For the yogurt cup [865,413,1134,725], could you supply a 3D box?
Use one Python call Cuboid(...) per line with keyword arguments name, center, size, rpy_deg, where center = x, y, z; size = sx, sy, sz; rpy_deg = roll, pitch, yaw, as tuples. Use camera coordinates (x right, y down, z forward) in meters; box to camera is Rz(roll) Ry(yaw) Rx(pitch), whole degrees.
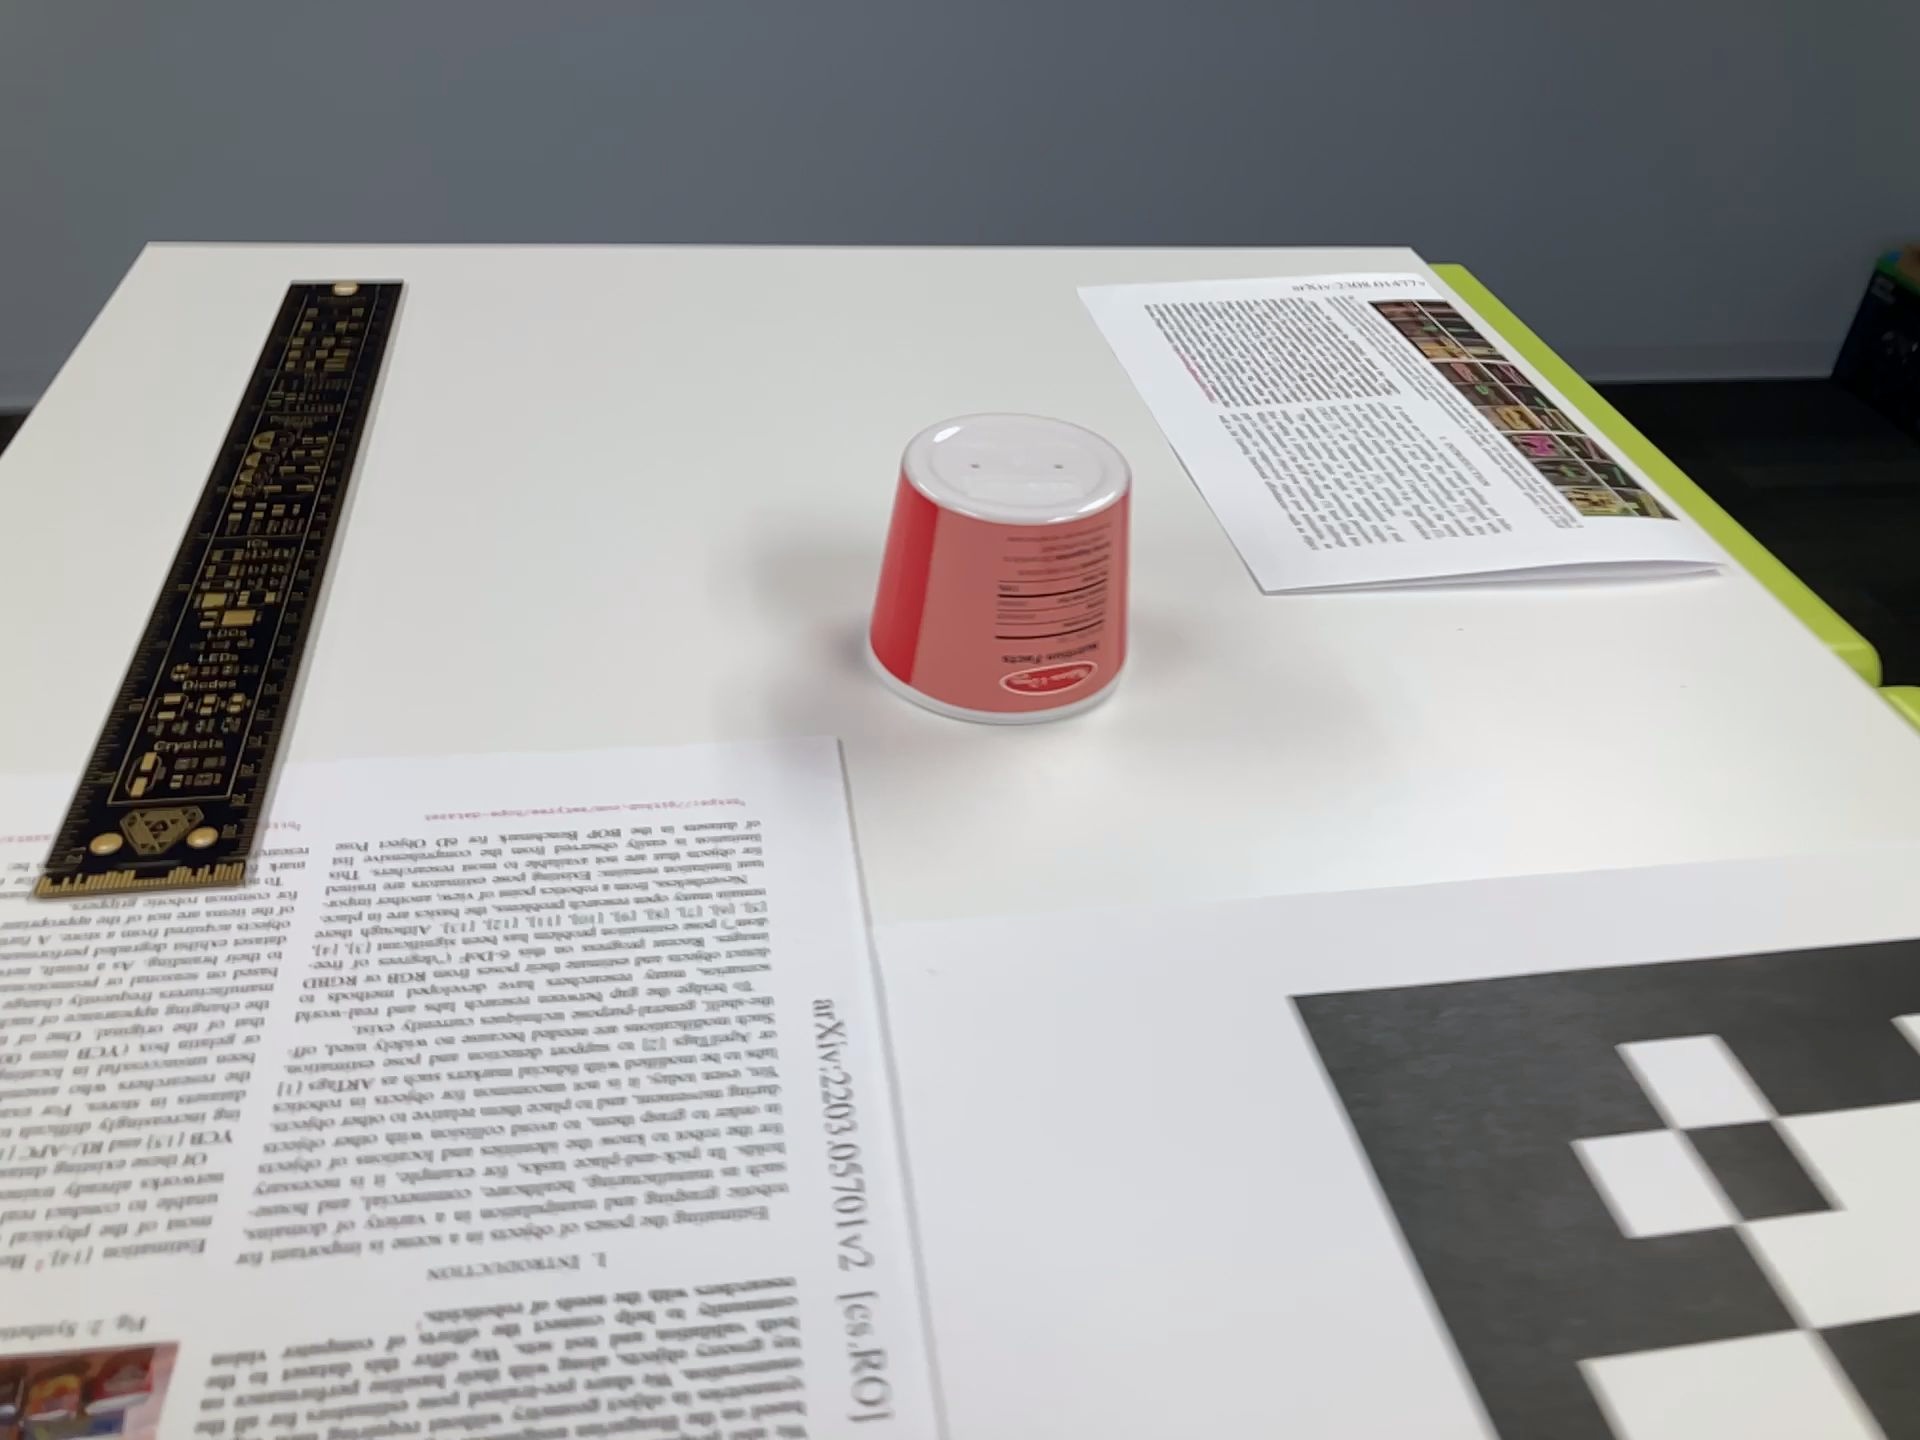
Cuboid(name="yogurt cup", center=(0.012, -0.040, 0.388), size=(0.072, 0.054, 0.072), rpy_deg=(4, 36, -3))
